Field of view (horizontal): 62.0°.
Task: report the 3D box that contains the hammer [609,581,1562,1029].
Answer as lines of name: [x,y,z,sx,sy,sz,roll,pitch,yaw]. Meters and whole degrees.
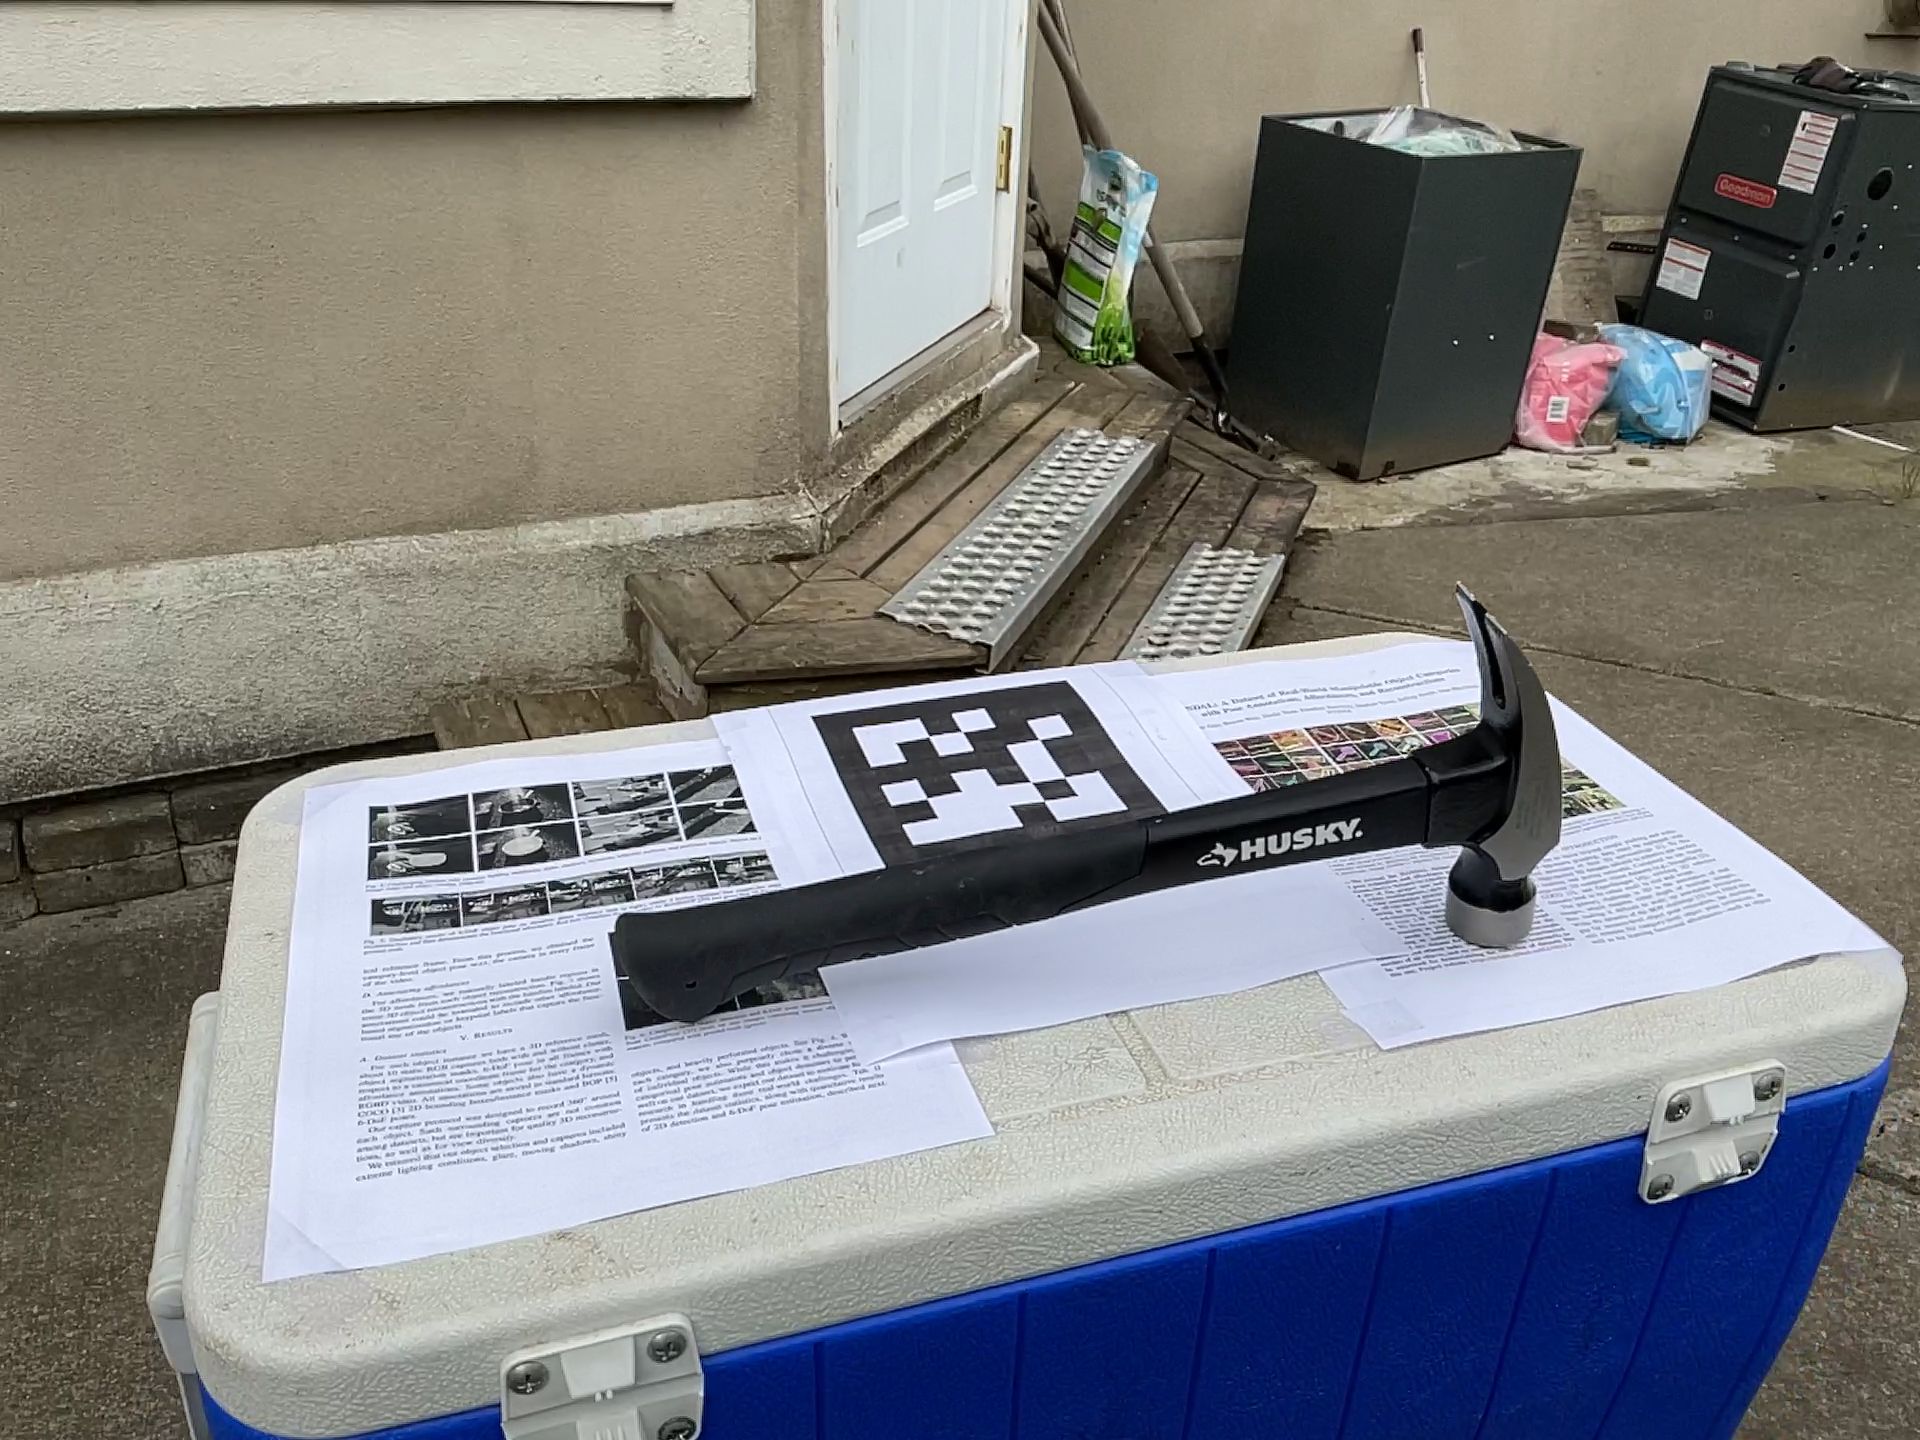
hammer: [0.048,0.048,0.554,0.334,0.146,0.035,-11,35,-6]
